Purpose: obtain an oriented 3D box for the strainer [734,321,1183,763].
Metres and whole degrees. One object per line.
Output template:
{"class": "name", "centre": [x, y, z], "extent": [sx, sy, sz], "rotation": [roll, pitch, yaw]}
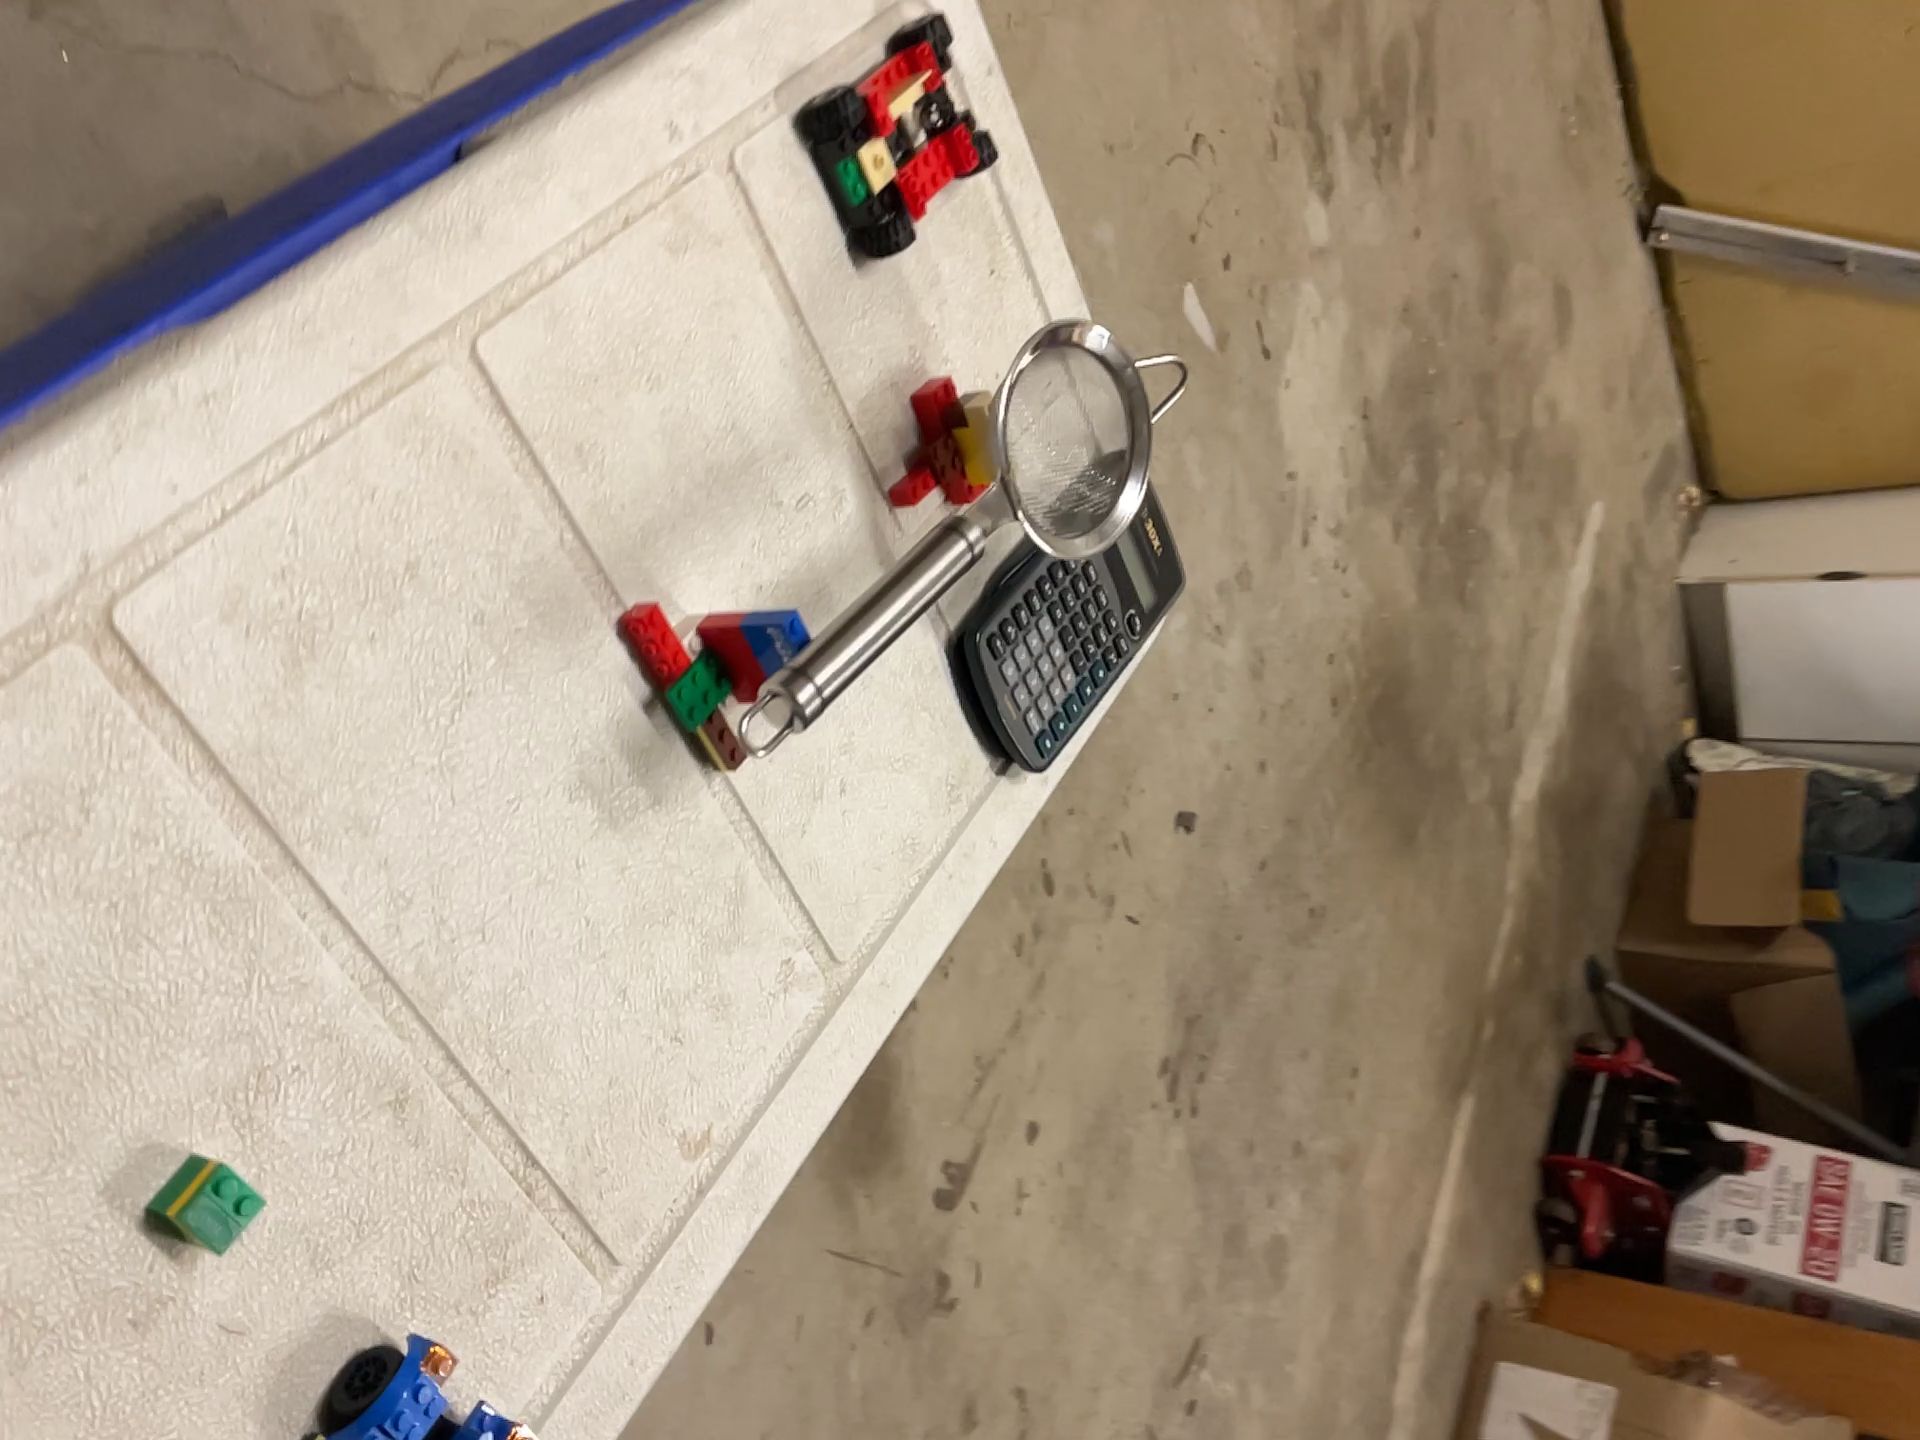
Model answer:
{"class": "strainer", "centre": [0.000, -0.065, 0.551], "extent": [0.259, 0.050, 0.086], "rotation": [-48, 125, -41]}
